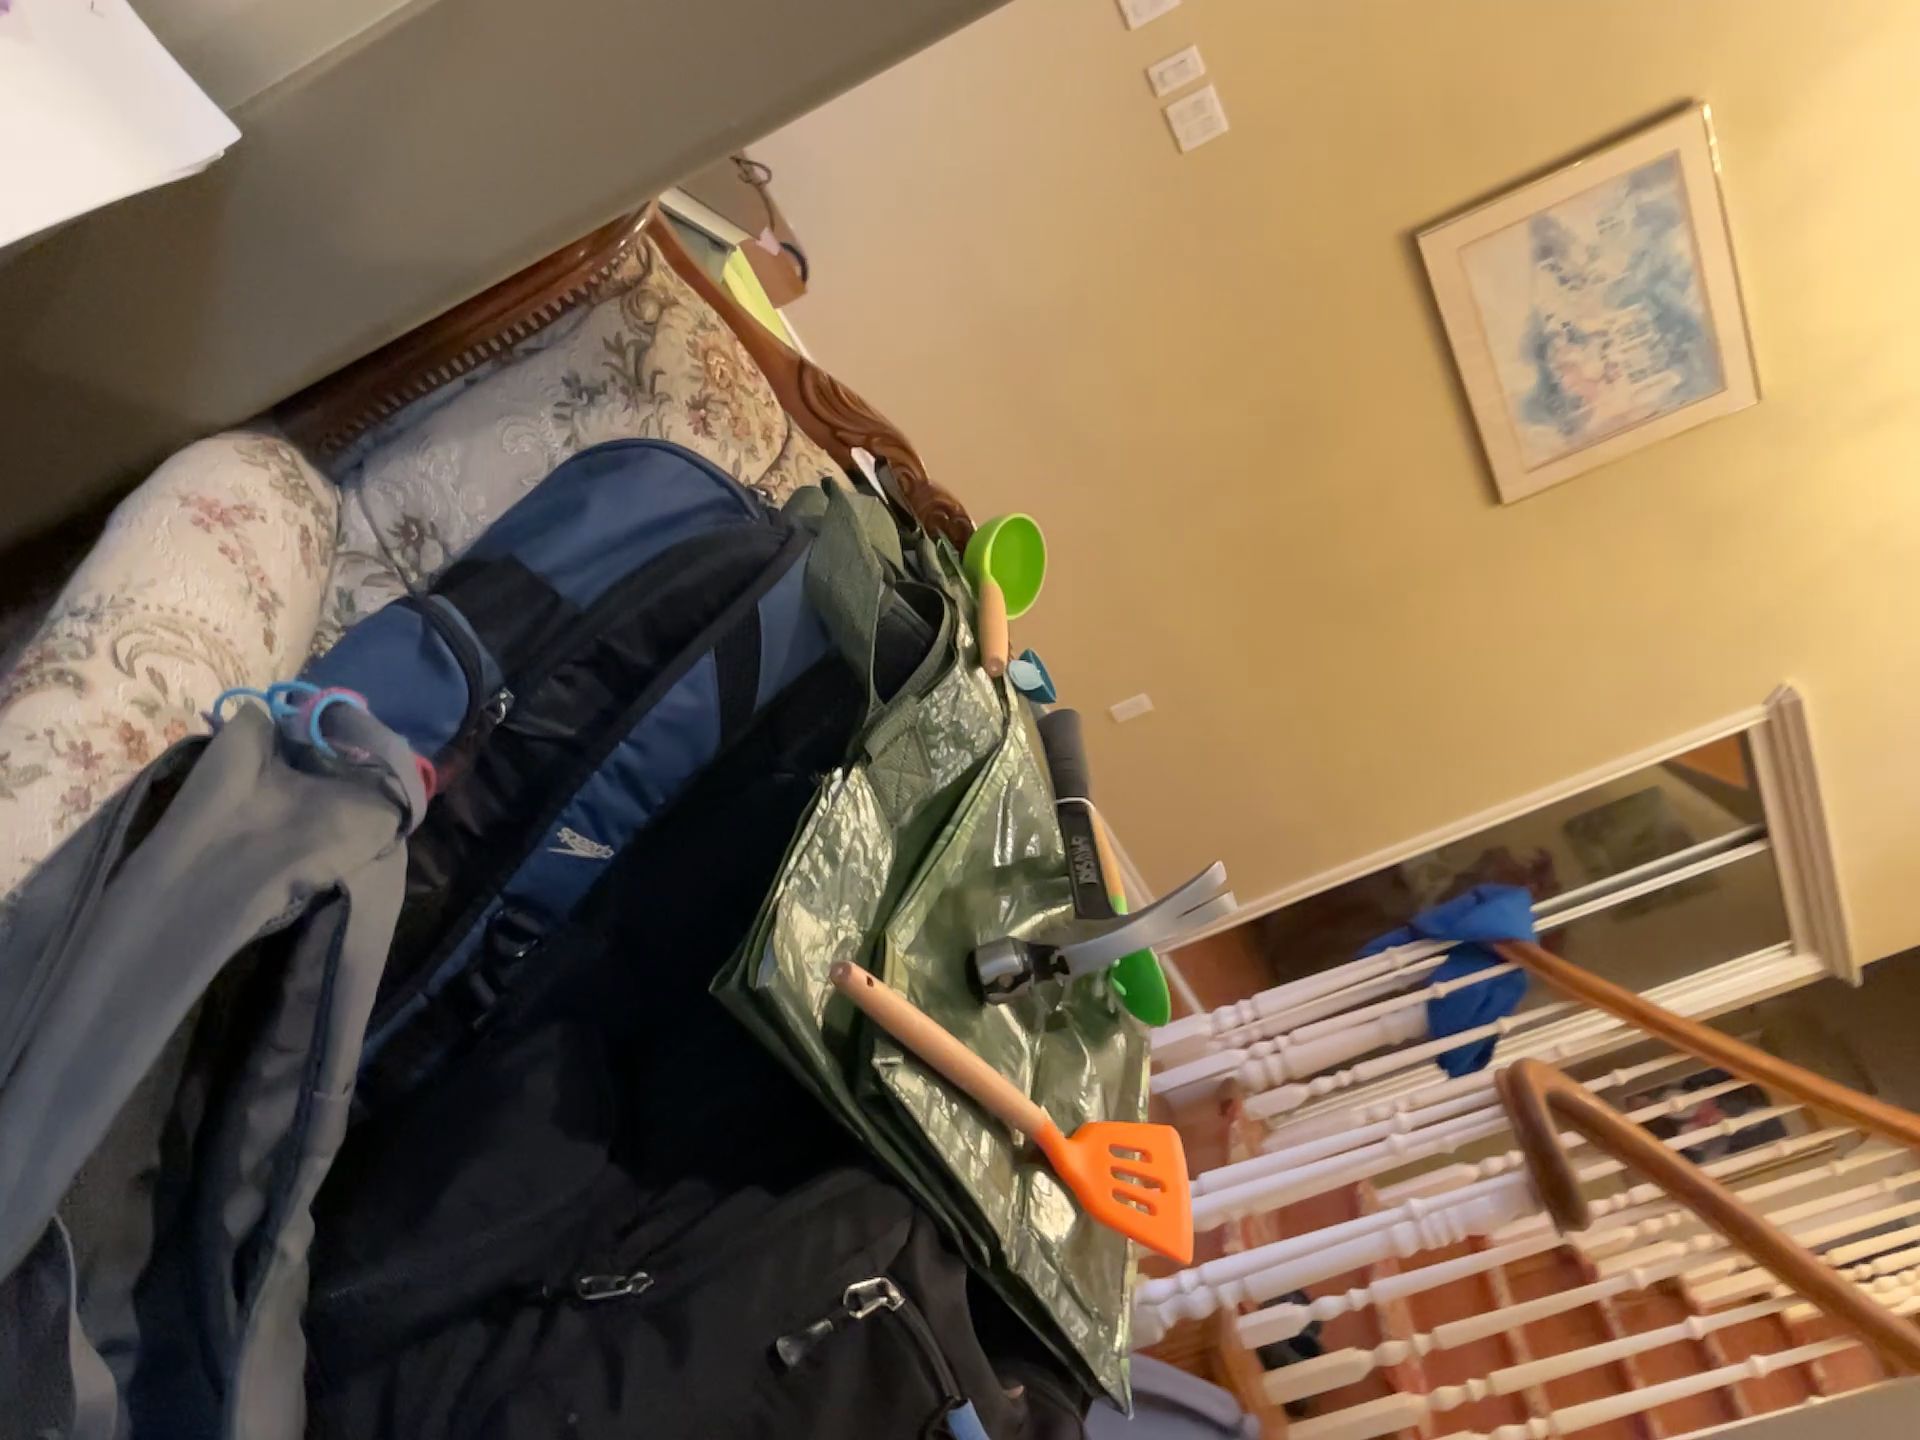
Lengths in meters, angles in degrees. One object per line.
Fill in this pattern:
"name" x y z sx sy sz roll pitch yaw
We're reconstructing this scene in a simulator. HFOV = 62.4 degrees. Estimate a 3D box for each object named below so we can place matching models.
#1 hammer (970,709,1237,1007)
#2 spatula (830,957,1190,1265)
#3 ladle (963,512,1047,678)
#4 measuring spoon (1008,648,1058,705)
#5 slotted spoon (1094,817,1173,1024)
"hammer" 0.080 0.065 1.051 0.409 0.149 0.036 -89 161 -72
"spatula" 0.034 0.195 0.813 0.322 0.041 0.081 48 31 -43
"ladle" 0.031 -0.075 1.020 0.320 0.062 0.078 -88 177 -73
"measuring spoon" 0.039 -0.026 1.049 0.042 0.021 0.128 65 13 5
"slotted spoon" 0.105 0.121 1.107 0.314 0.031 0.070 -99 177 -72
